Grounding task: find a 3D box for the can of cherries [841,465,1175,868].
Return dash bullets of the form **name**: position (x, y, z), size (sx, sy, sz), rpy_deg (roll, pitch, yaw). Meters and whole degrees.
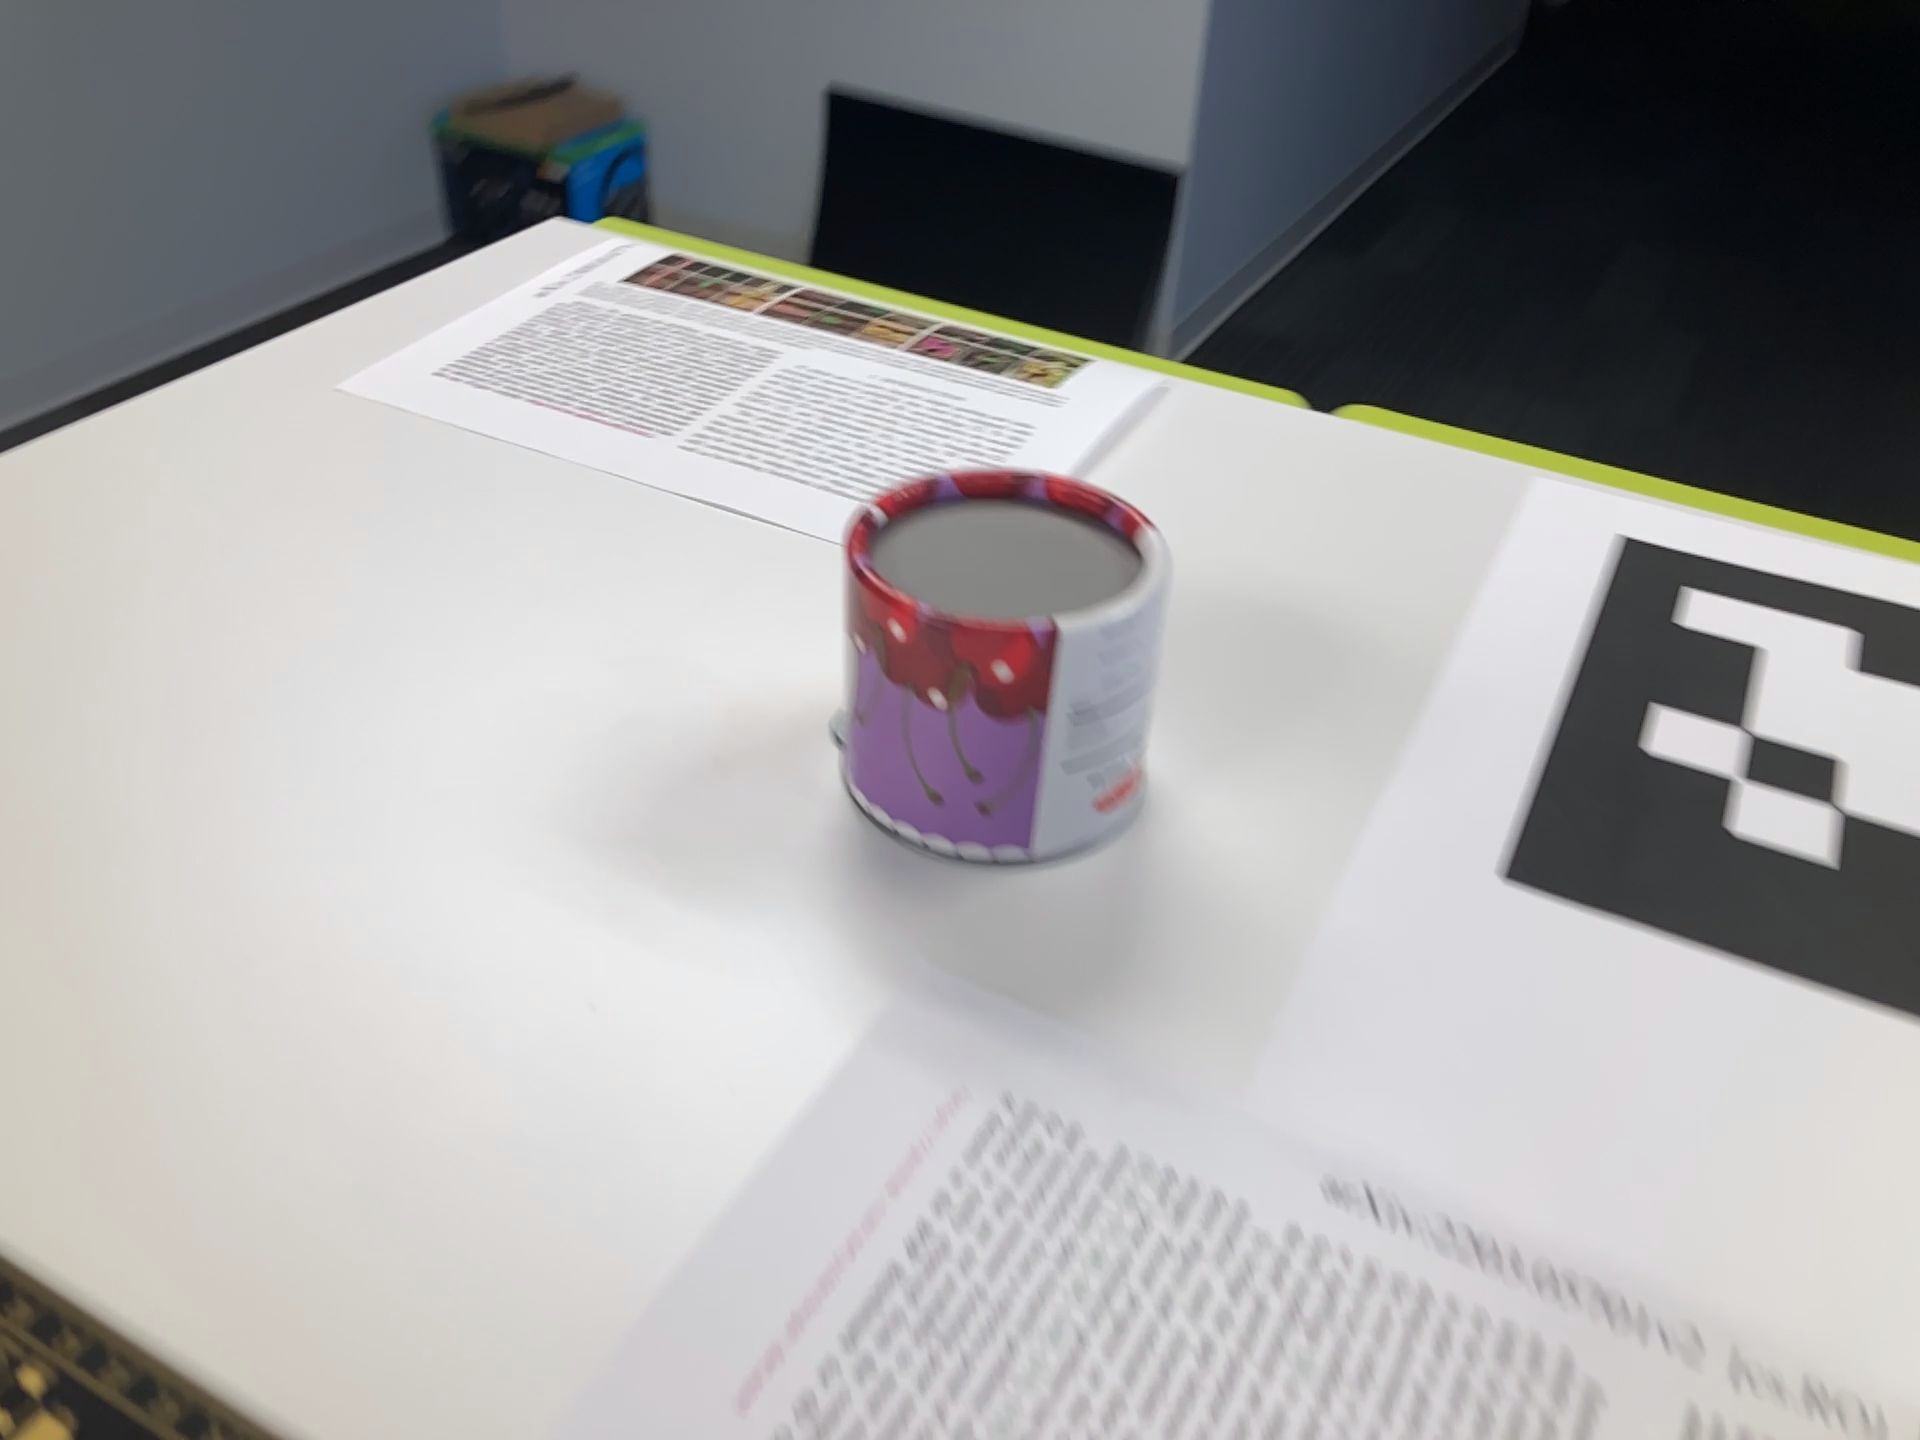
- **can of cherries**: position (0.006, -0.013, 0.328), size (0.071, 0.058, 0.071), rpy_deg (1, 37, -1)
